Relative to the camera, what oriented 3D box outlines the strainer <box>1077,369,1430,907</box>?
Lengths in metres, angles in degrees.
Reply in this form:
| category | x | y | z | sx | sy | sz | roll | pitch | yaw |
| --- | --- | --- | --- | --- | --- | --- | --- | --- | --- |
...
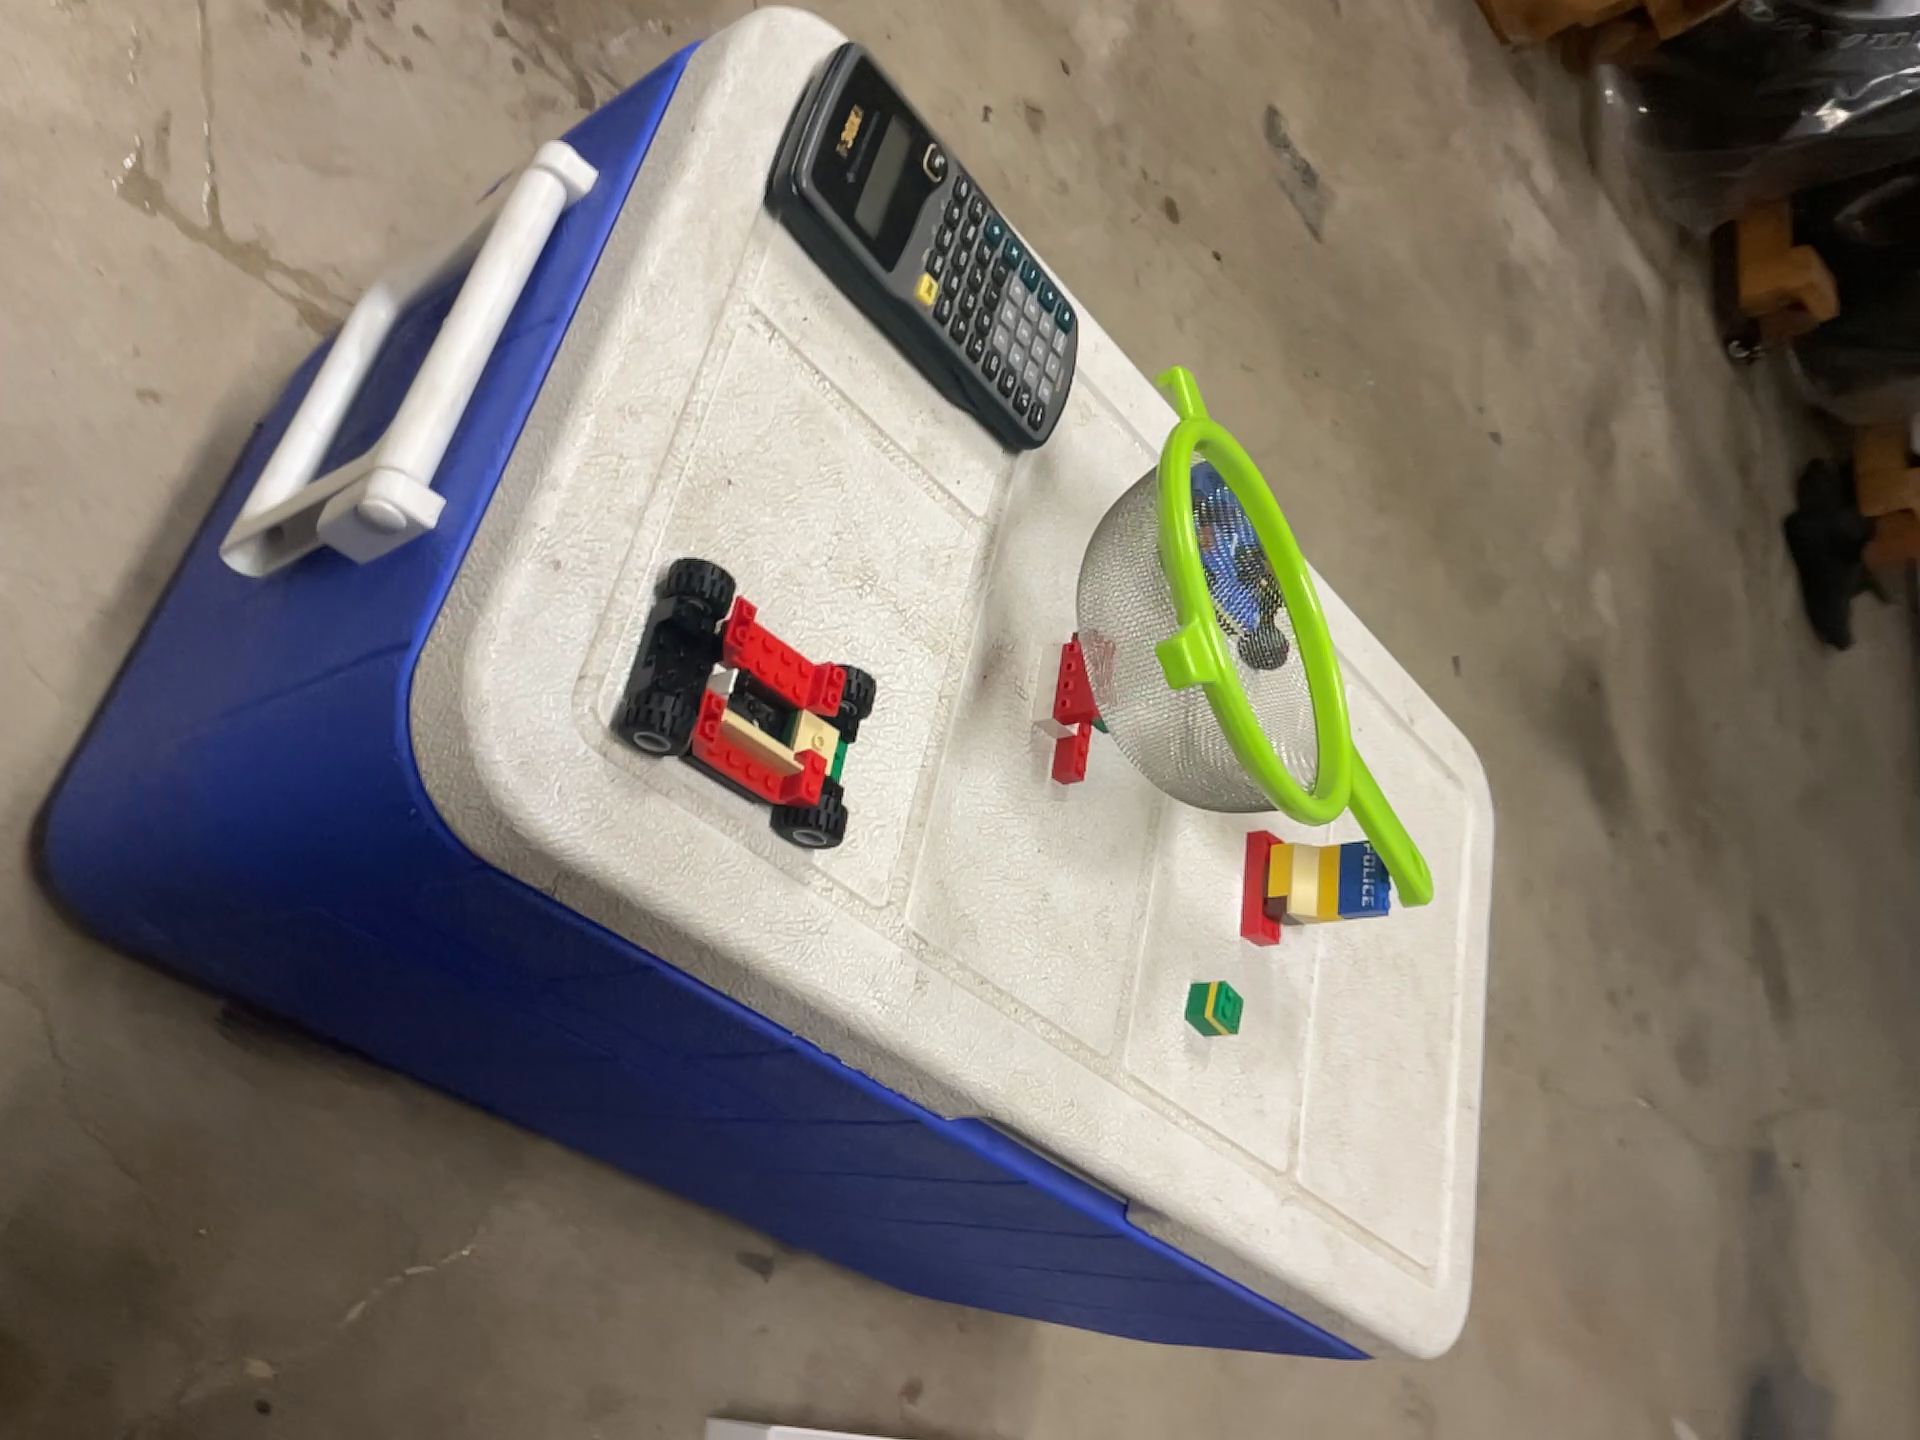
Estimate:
| category | x | y | z | sx | sy | sz | roll | pitch | yaw |
| --- | --- | --- | --- | --- | --- | --- | --- | --- | --- |
| strainer | 0.110 | 0.003 | 0.614 | 0.256 | 0.069 | 0.152 | 50 | 32 | -39 |
